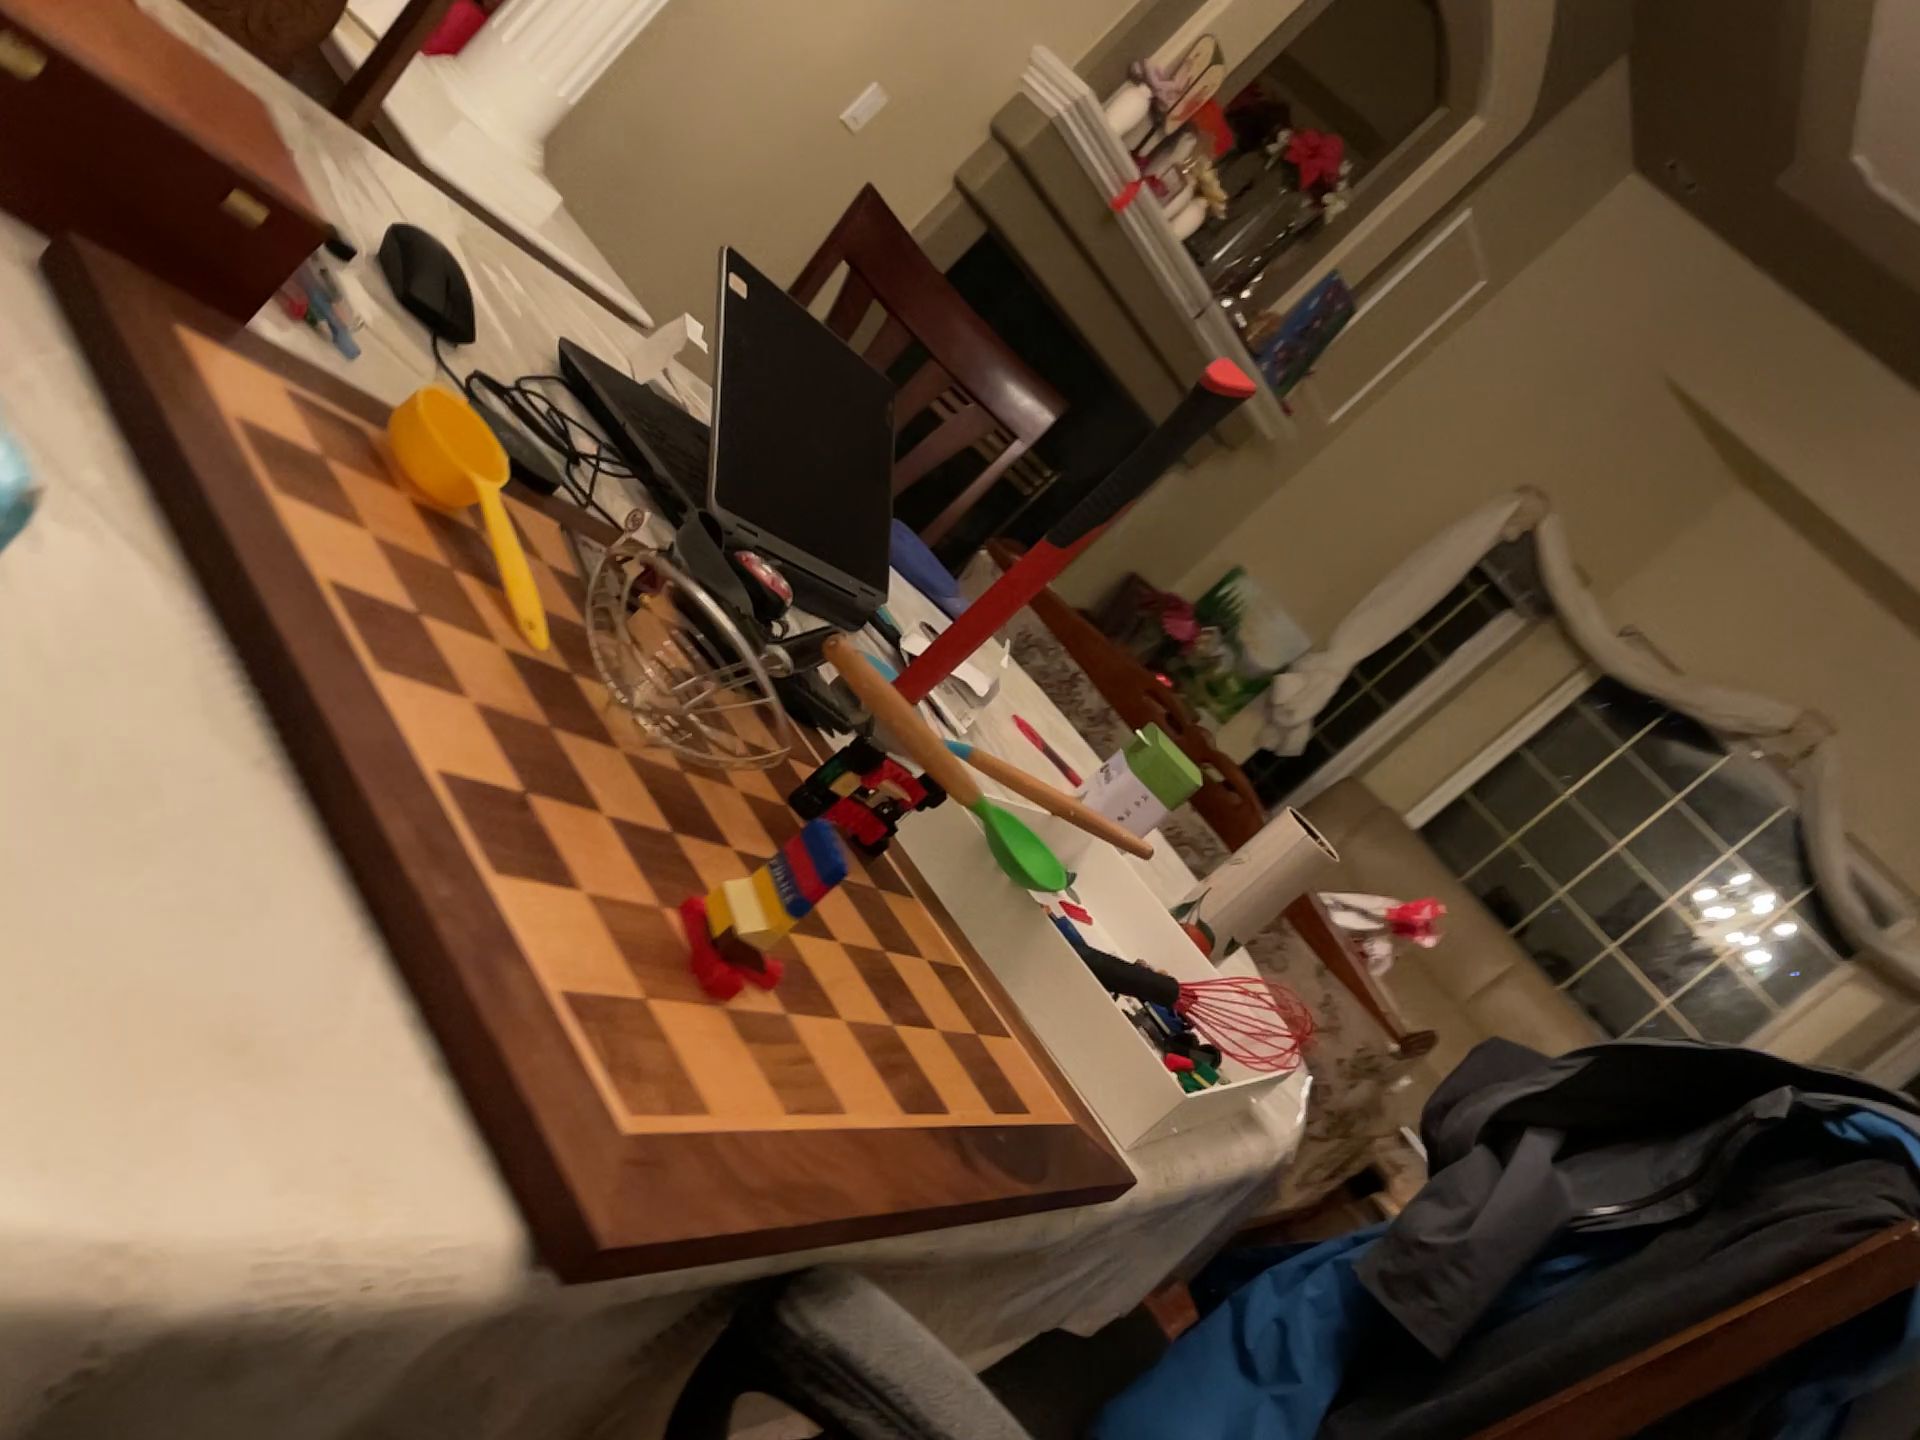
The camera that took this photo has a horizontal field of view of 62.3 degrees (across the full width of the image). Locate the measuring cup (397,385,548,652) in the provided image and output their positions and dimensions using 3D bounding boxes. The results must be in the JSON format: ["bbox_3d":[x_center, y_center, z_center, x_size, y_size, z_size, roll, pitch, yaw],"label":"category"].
[{"bbox_3d":[-0.232,-0.092,0.764,0.157,0.029,0.062,66,13,22],"label":"measuring cup"}]

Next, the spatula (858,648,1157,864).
[{"bbox_3d":[0.035,0.032,1.299,0.318,0.044,0.082,29,-2,32],"label":"spatula"}]

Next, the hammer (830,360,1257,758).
[{"bbox_3d":[0.072,-0.116,1.197,0.038,0.386,0.143,53,12,28],"label":"hammer"}]

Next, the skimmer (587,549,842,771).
[{"bbox_3d":[-0.102,-0.044,0.876,0.127,0.090,0.363,46,14,2],"label":"skimmer"}]

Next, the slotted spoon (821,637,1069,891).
[{"bbox_3d":[-0.005,0.031,0.916,0.070,0.031,0.313,57,5,35],"label":"slotted spoon"}]

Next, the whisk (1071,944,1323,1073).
[{"bbox_3d":[0.171,0.213,1.203,0.295,0.073,0.073,23,4,-34],"label":"whisk"}]
